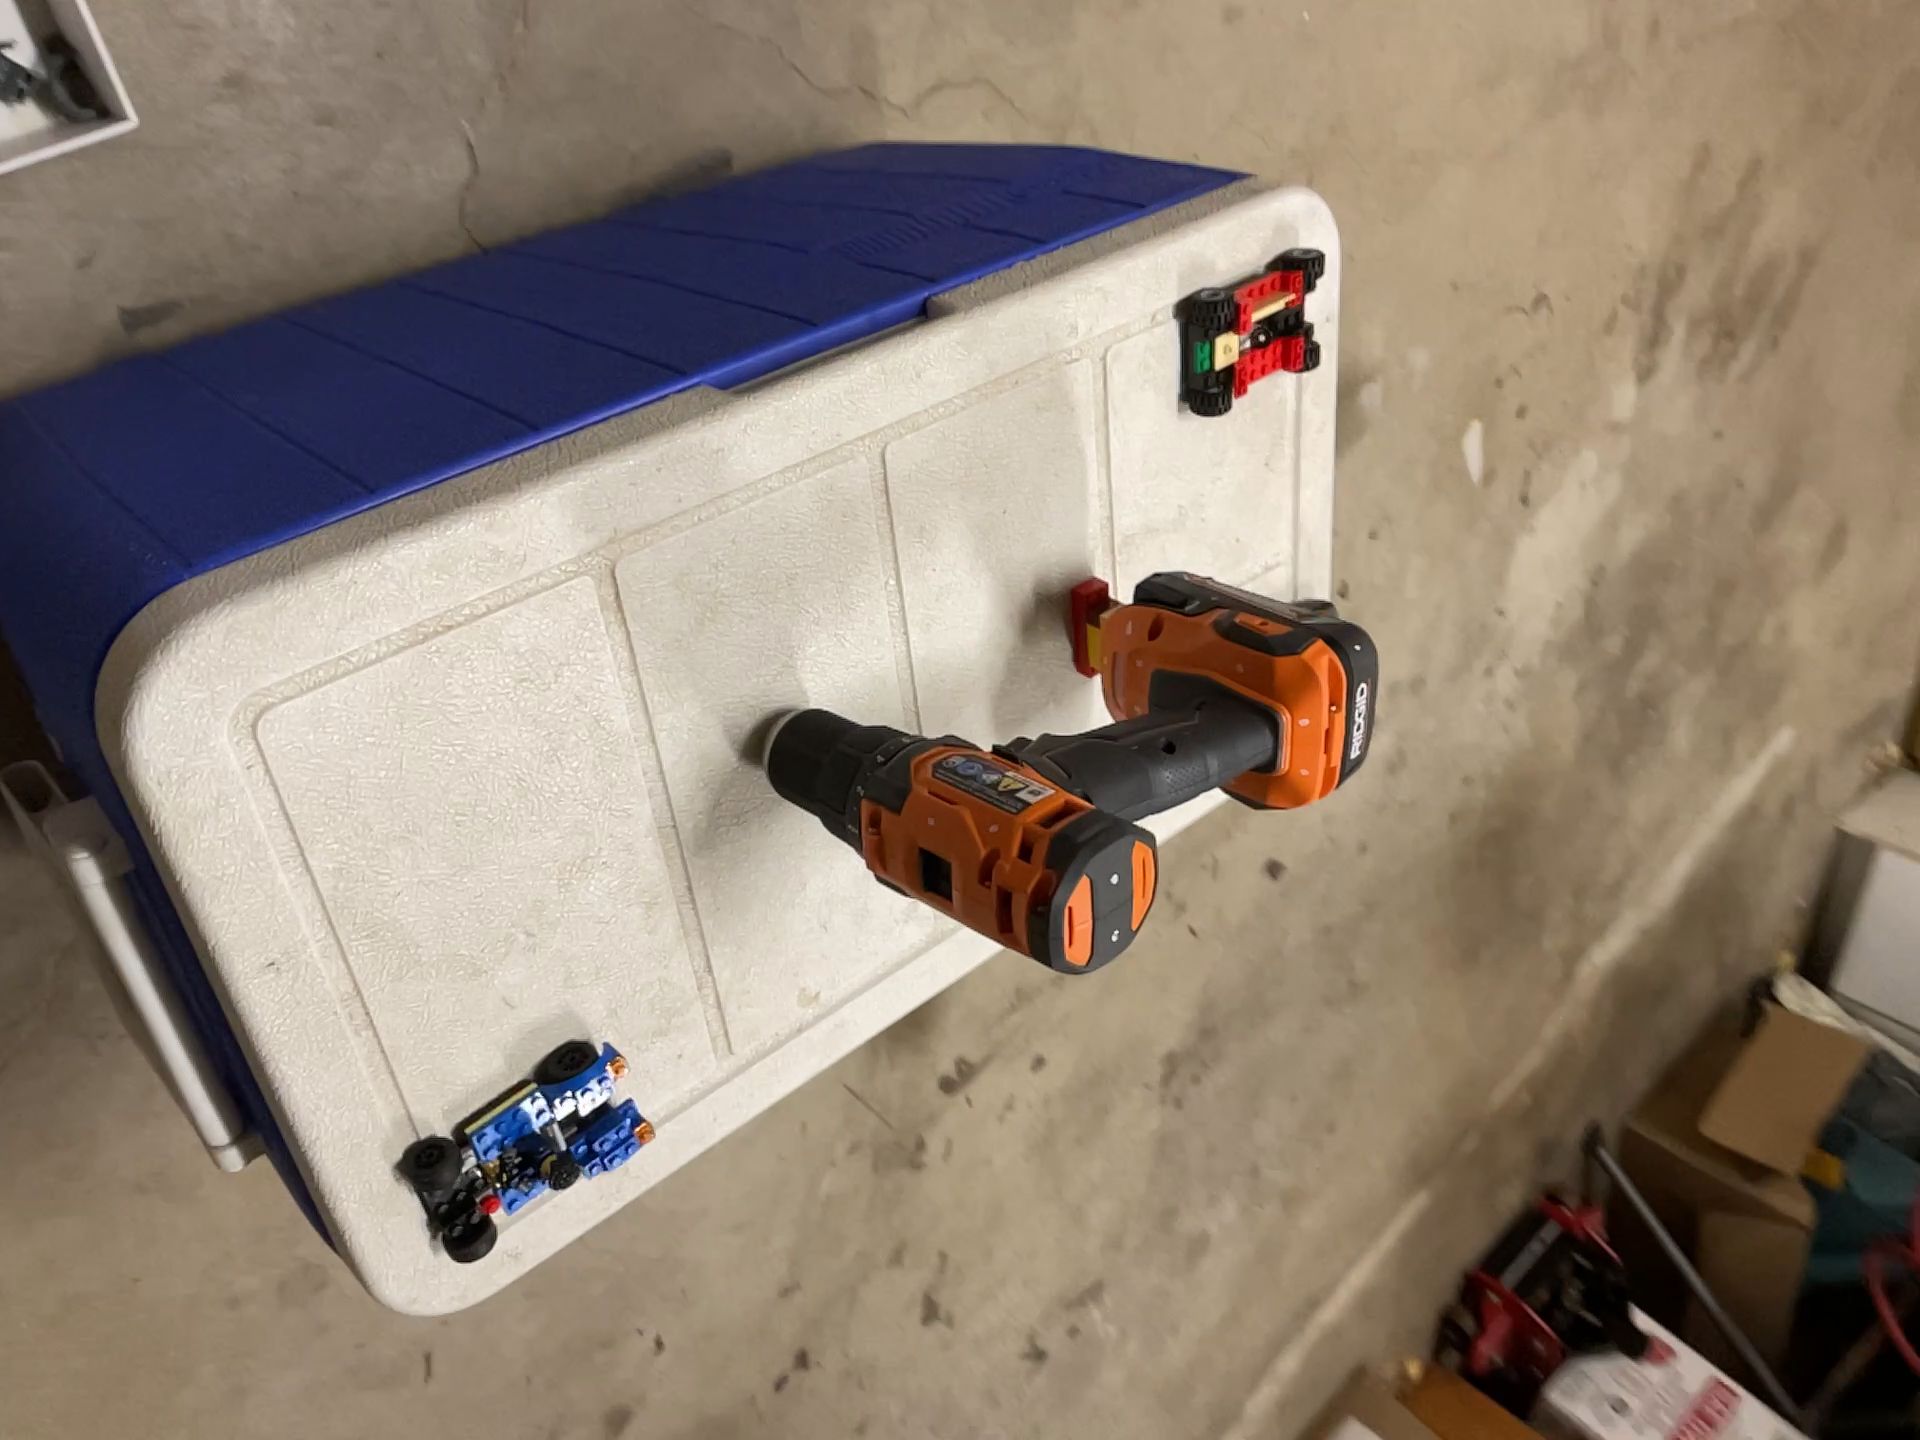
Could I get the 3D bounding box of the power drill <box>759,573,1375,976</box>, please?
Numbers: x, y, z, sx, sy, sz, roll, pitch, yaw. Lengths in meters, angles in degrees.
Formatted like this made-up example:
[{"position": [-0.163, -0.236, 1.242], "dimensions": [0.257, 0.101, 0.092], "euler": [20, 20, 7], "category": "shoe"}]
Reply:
[{"position": [0.044, 0.010, 0.671], "dimensions": [0.226, 0.185, 0.084], "euler": [-28, 127, -38], "category": "power drill"}]
